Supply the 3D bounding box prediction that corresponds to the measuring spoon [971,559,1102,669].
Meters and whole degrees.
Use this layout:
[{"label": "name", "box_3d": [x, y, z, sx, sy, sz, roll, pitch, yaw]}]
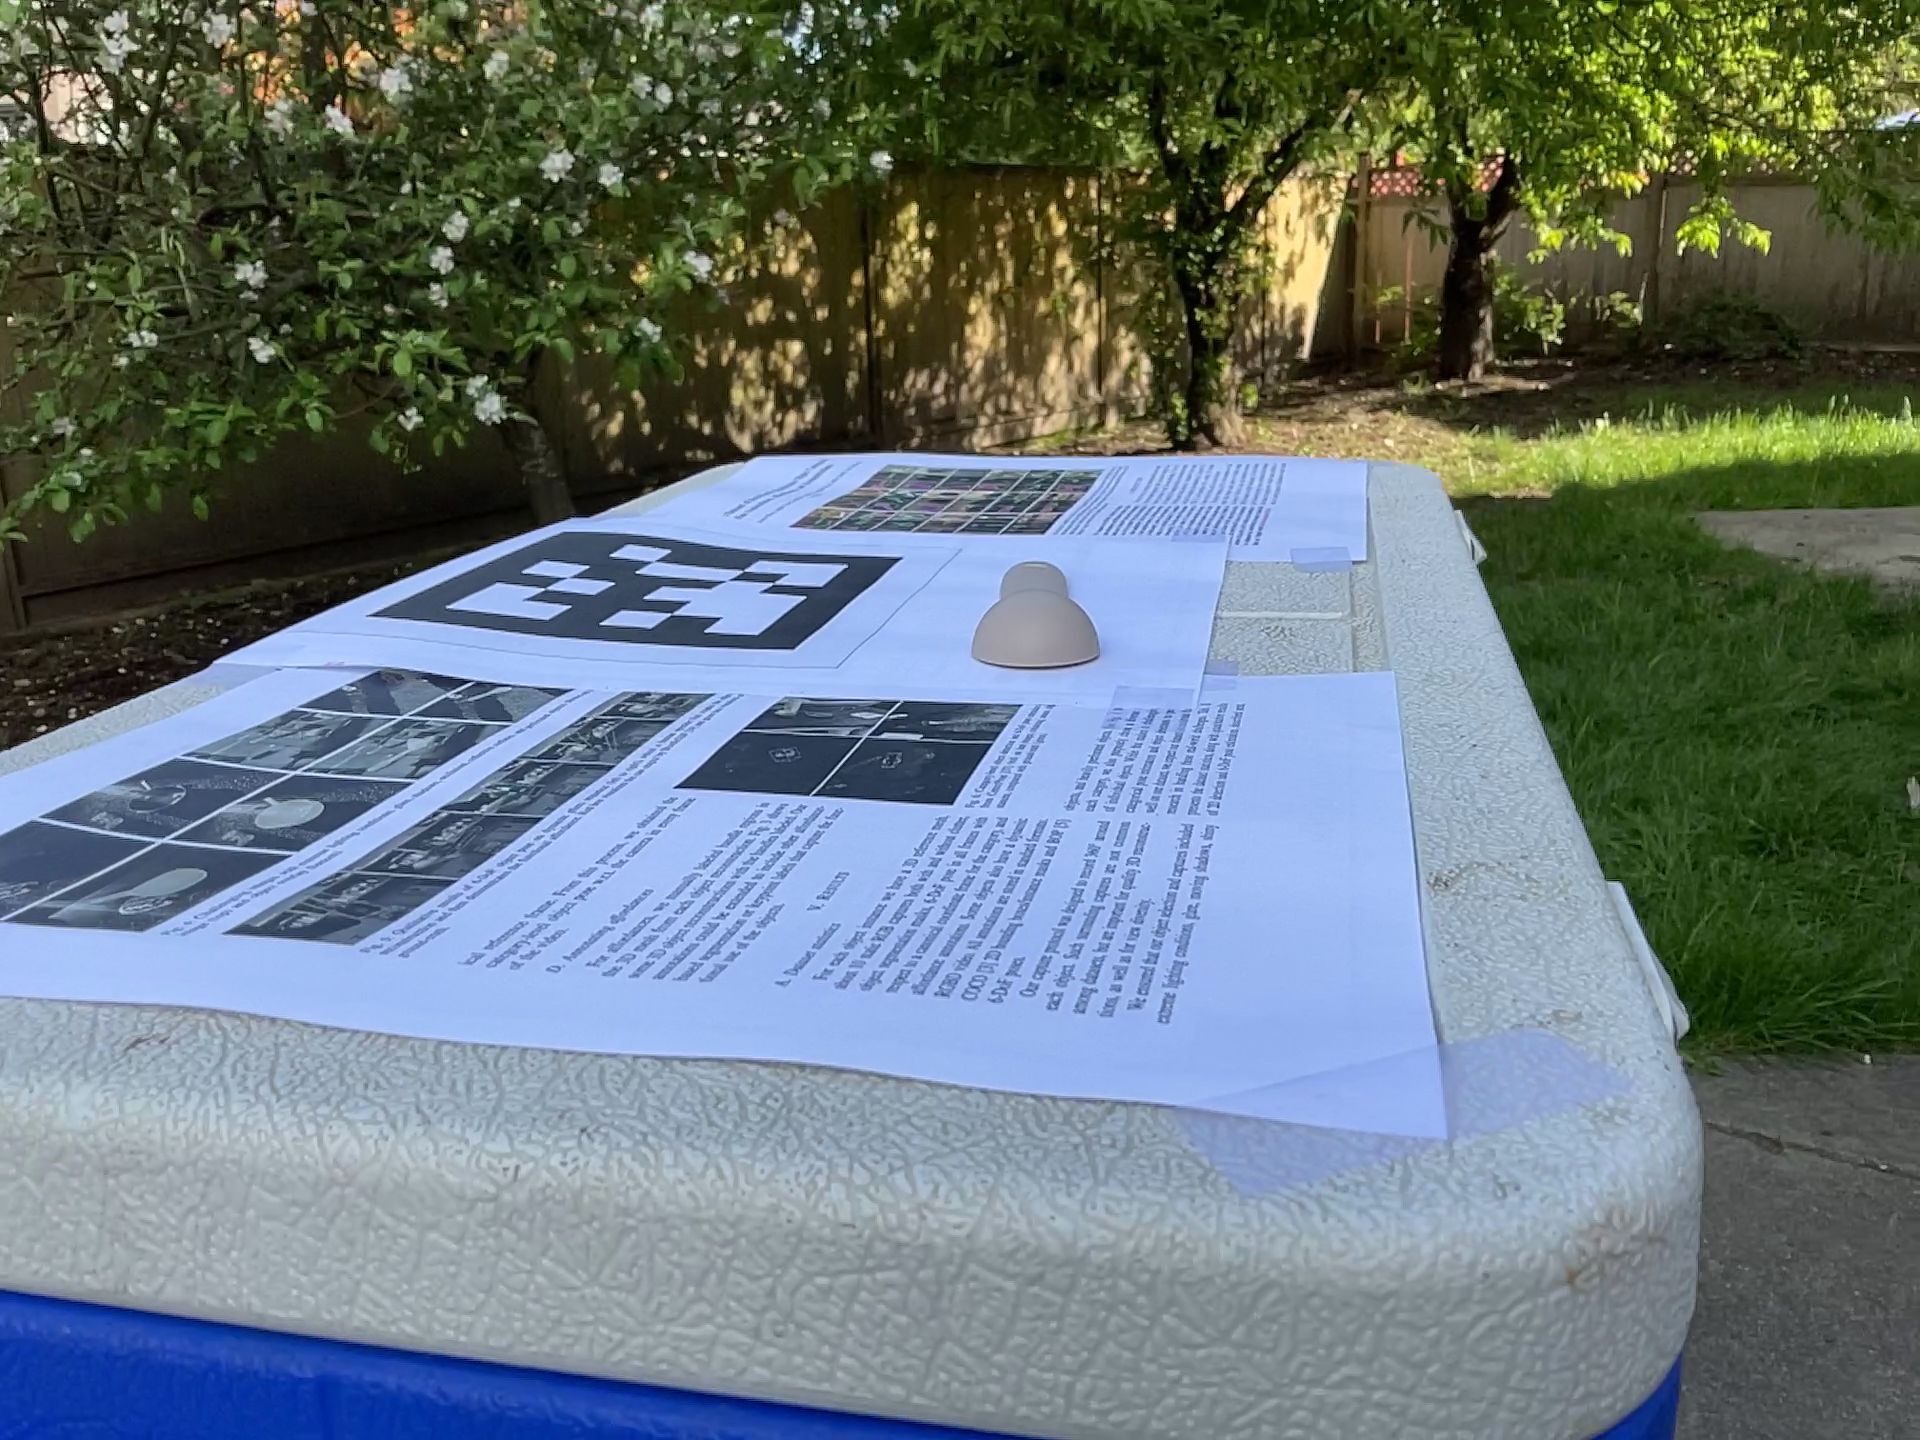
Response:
[{"label": "measuring spoon", "box_3d": [0.021, -0.038, 0.459, 0.034, 0.018, 0.124, -1, 17, 3]}]
